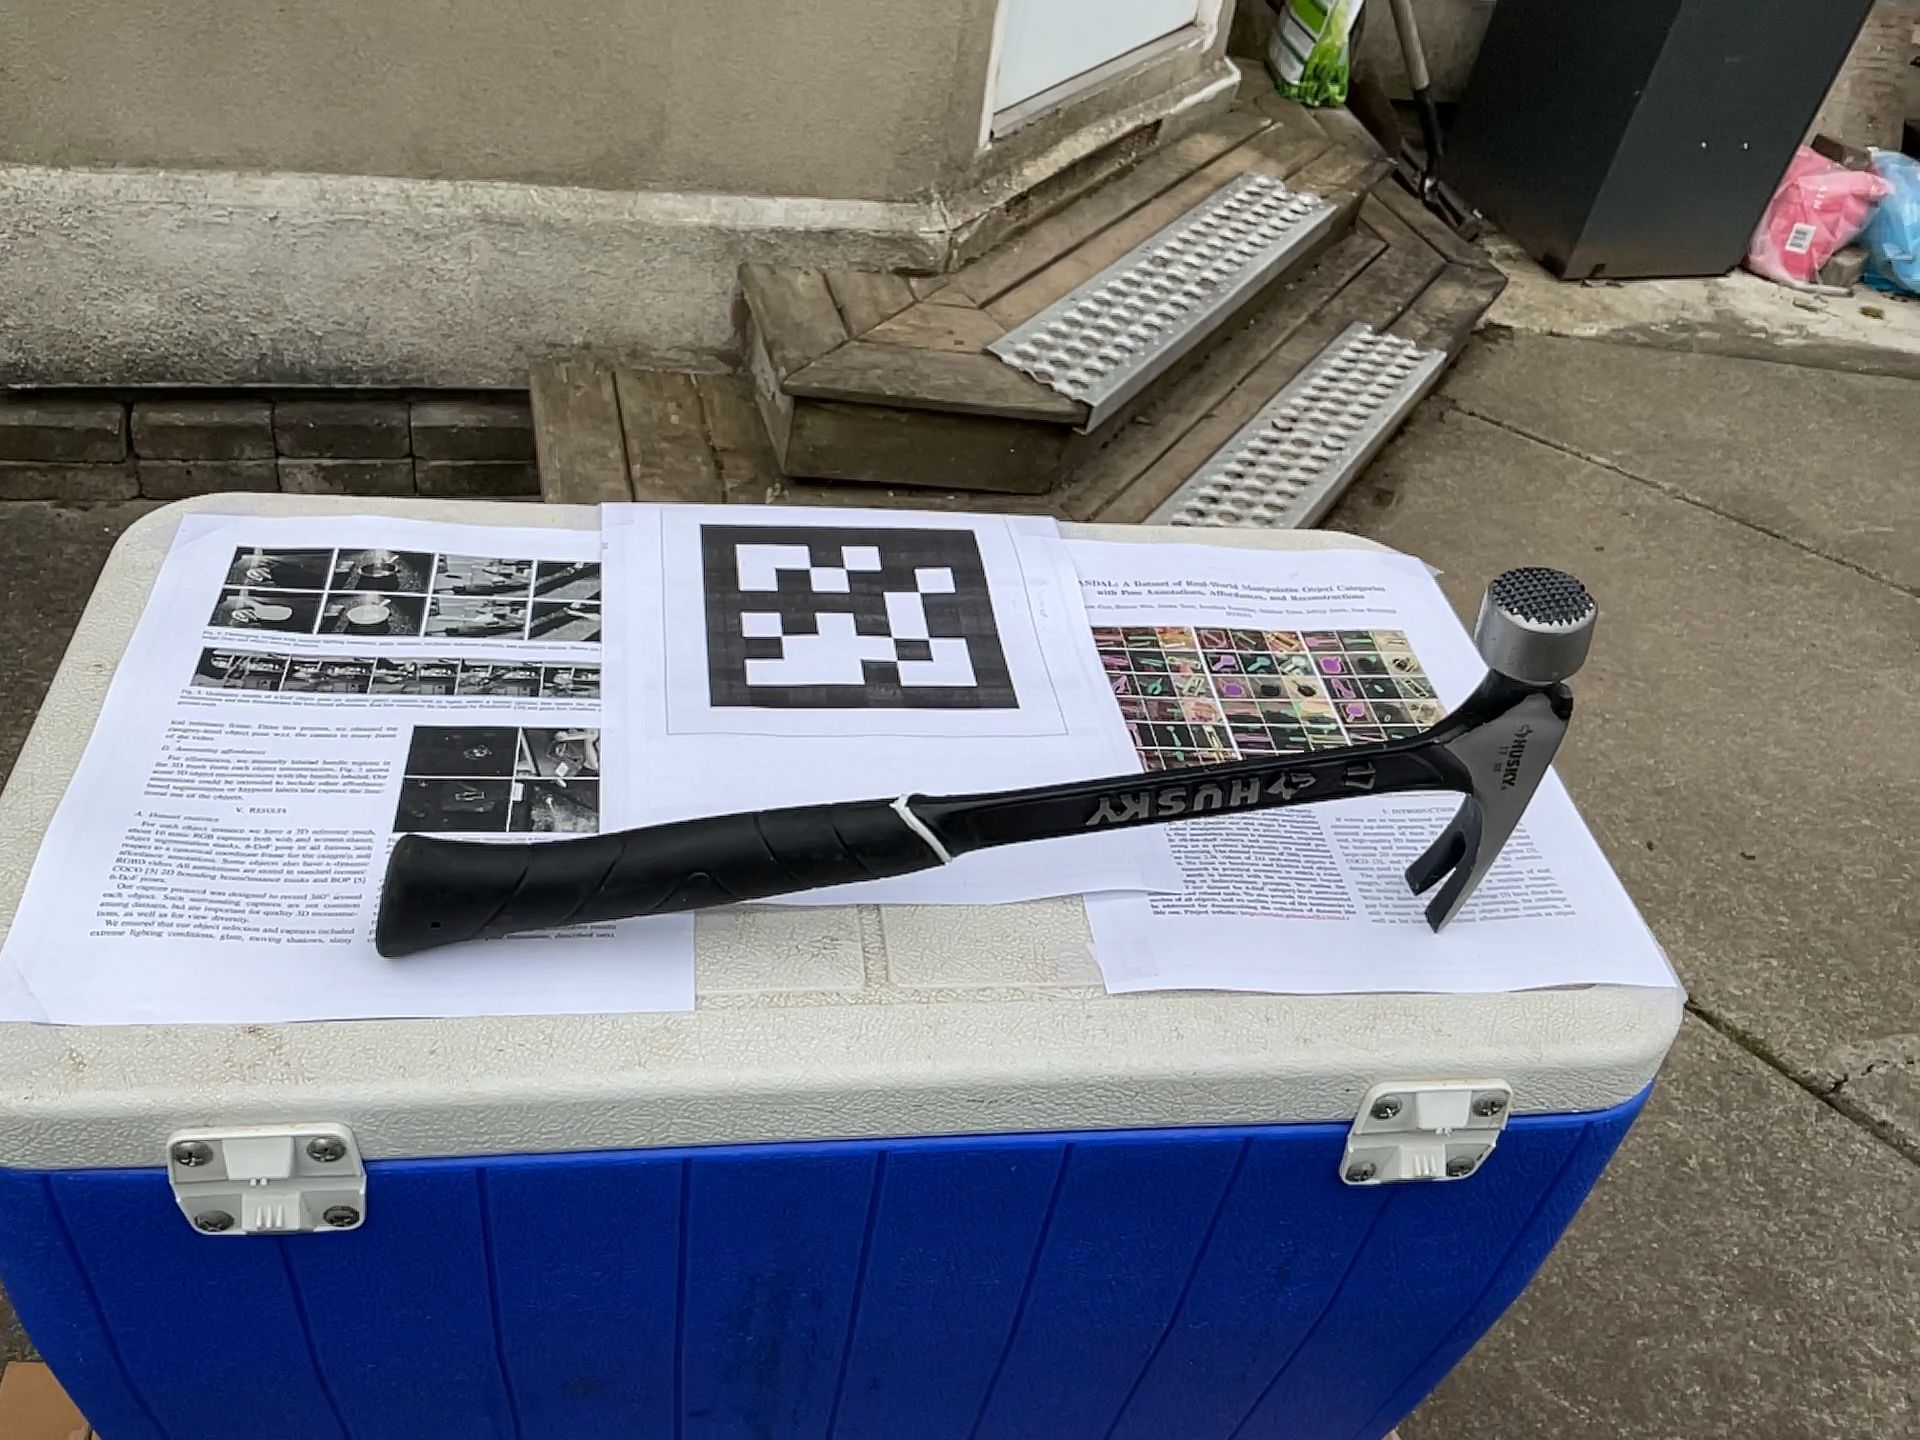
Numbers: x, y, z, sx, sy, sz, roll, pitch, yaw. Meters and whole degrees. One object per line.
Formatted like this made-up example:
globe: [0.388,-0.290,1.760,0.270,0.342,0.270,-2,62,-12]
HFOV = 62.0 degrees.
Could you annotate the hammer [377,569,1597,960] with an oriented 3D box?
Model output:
hammer: [0.008,0.038,0.550,0.409,0.149,0.036,-7,42,-6]
